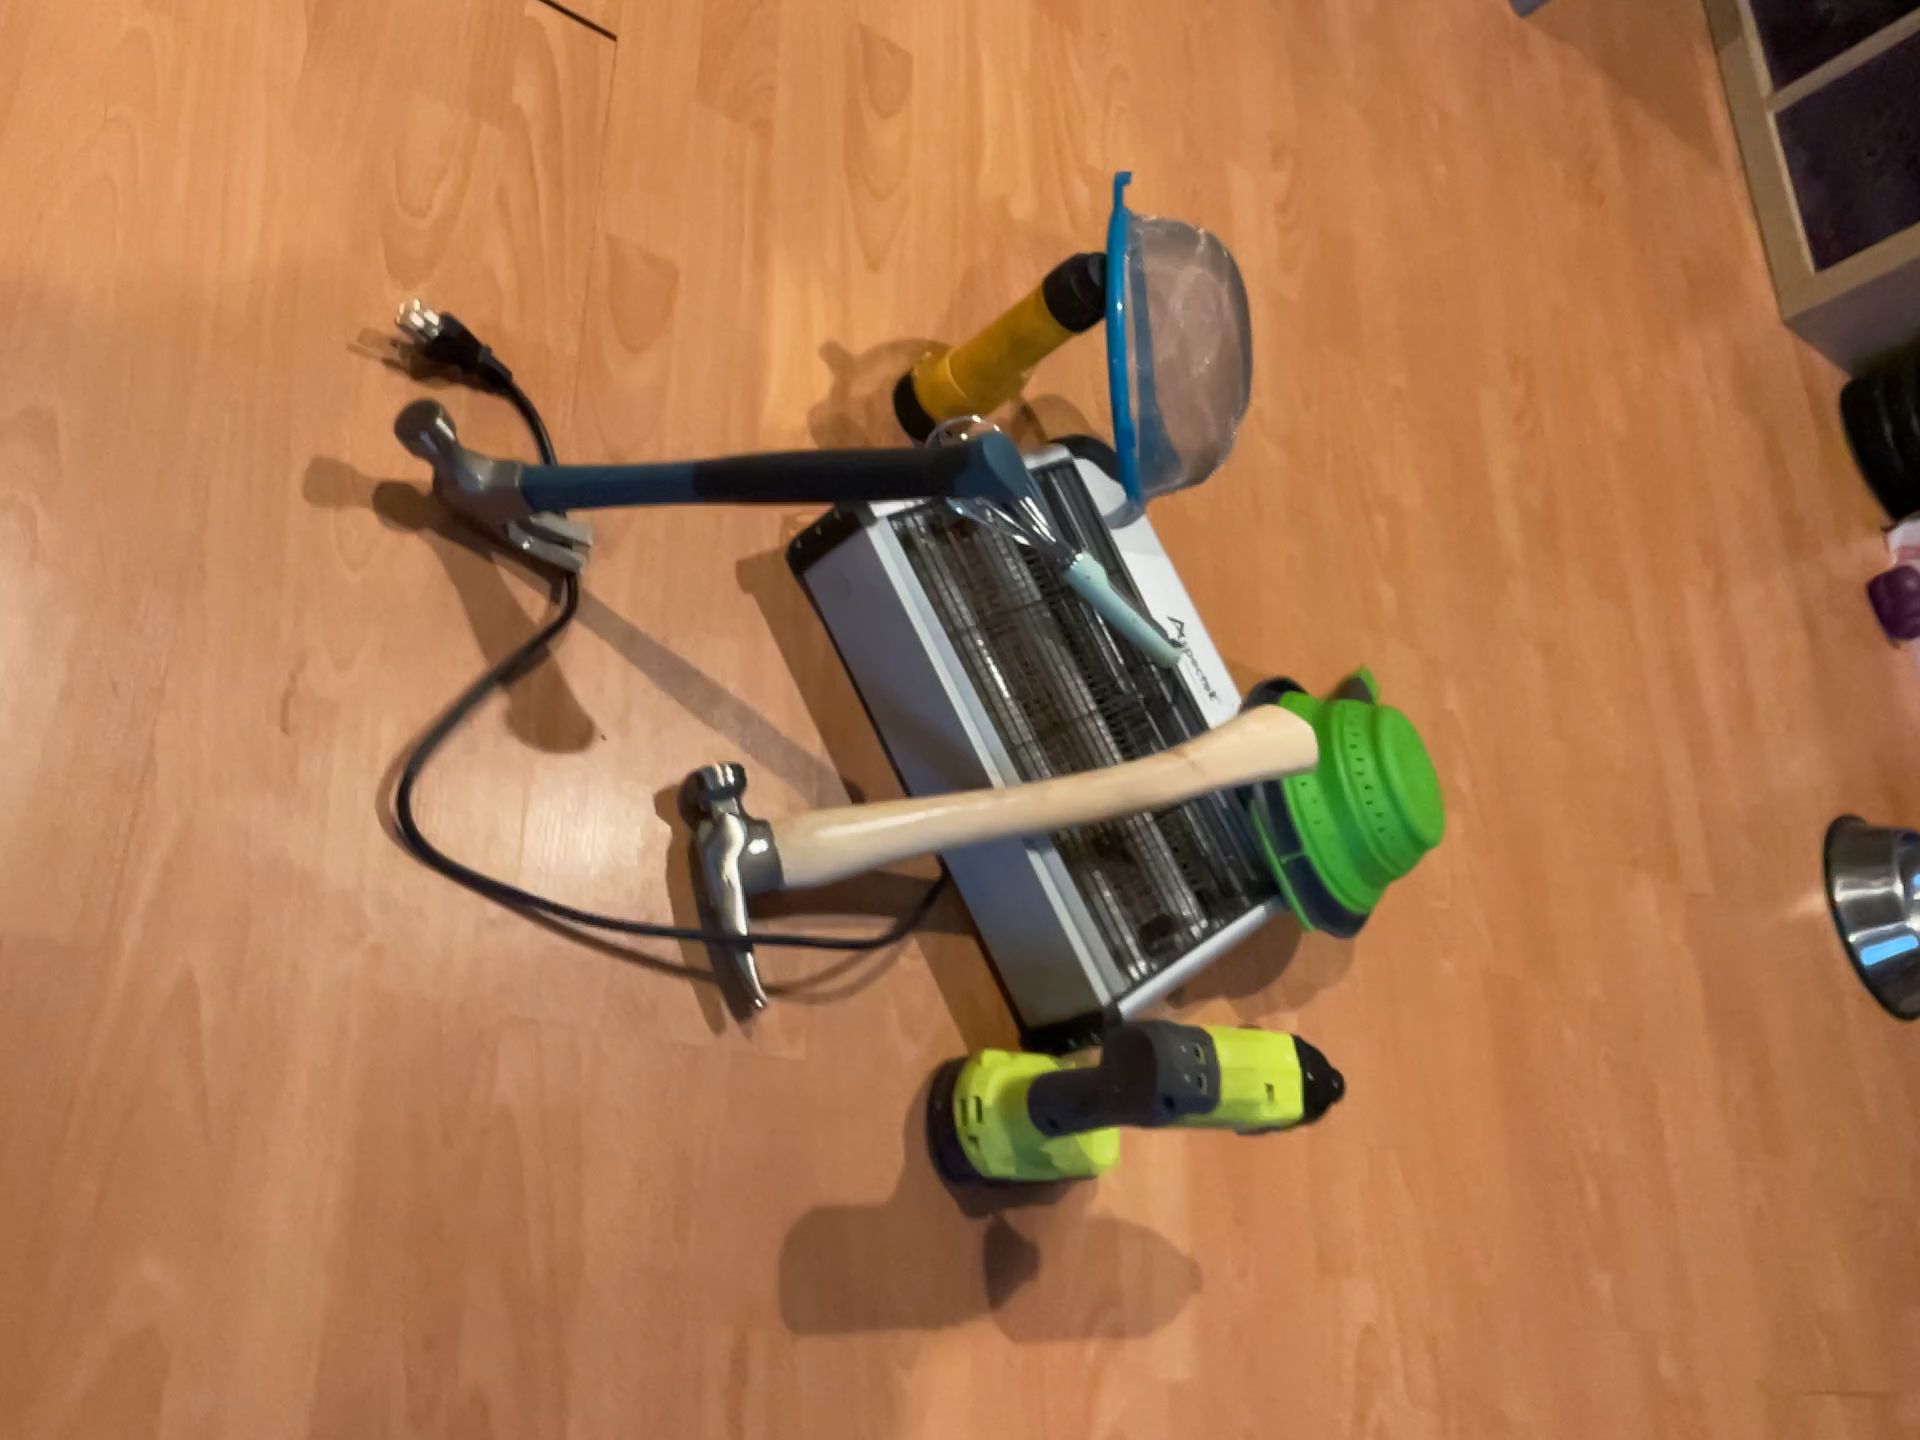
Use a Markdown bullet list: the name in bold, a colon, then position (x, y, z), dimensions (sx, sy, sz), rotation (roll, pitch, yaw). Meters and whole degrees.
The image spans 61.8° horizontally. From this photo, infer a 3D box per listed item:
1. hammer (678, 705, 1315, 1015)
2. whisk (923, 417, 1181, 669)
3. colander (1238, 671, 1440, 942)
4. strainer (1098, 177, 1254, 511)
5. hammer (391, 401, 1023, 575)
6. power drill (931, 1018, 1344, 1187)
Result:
- **hammer**: position (0.041, 0.066, 1.001), dimensions (0.411, 0.038, 0.146), rotation (-11, 77, -19)
- **whisk**: position (0.068, -0.115, 1.091), dimensions (0.246, 0.059, 0.058), rotation (41, 21, -24)
- **colander**: position (0.324, 0.026, 1.266), dimensions (0.204, 0.094, 0.397), rotation (63, 29, -9)
- **strainer**: position (0.175, -0.244, 1.195), dimensions (0.340, 0.095, 0.211), rotation (35, 54, -71)
- **hammer**: position (-0.132, -0.131, 0.875), dimensions (0.128, 0.331, 0.033), rotation (67, 26, -59)
- **power drill**: position (0.103, 0.228, 0.960), dimensions (0.171, 0.223, 0.080), rotation (13, 64, -37)
